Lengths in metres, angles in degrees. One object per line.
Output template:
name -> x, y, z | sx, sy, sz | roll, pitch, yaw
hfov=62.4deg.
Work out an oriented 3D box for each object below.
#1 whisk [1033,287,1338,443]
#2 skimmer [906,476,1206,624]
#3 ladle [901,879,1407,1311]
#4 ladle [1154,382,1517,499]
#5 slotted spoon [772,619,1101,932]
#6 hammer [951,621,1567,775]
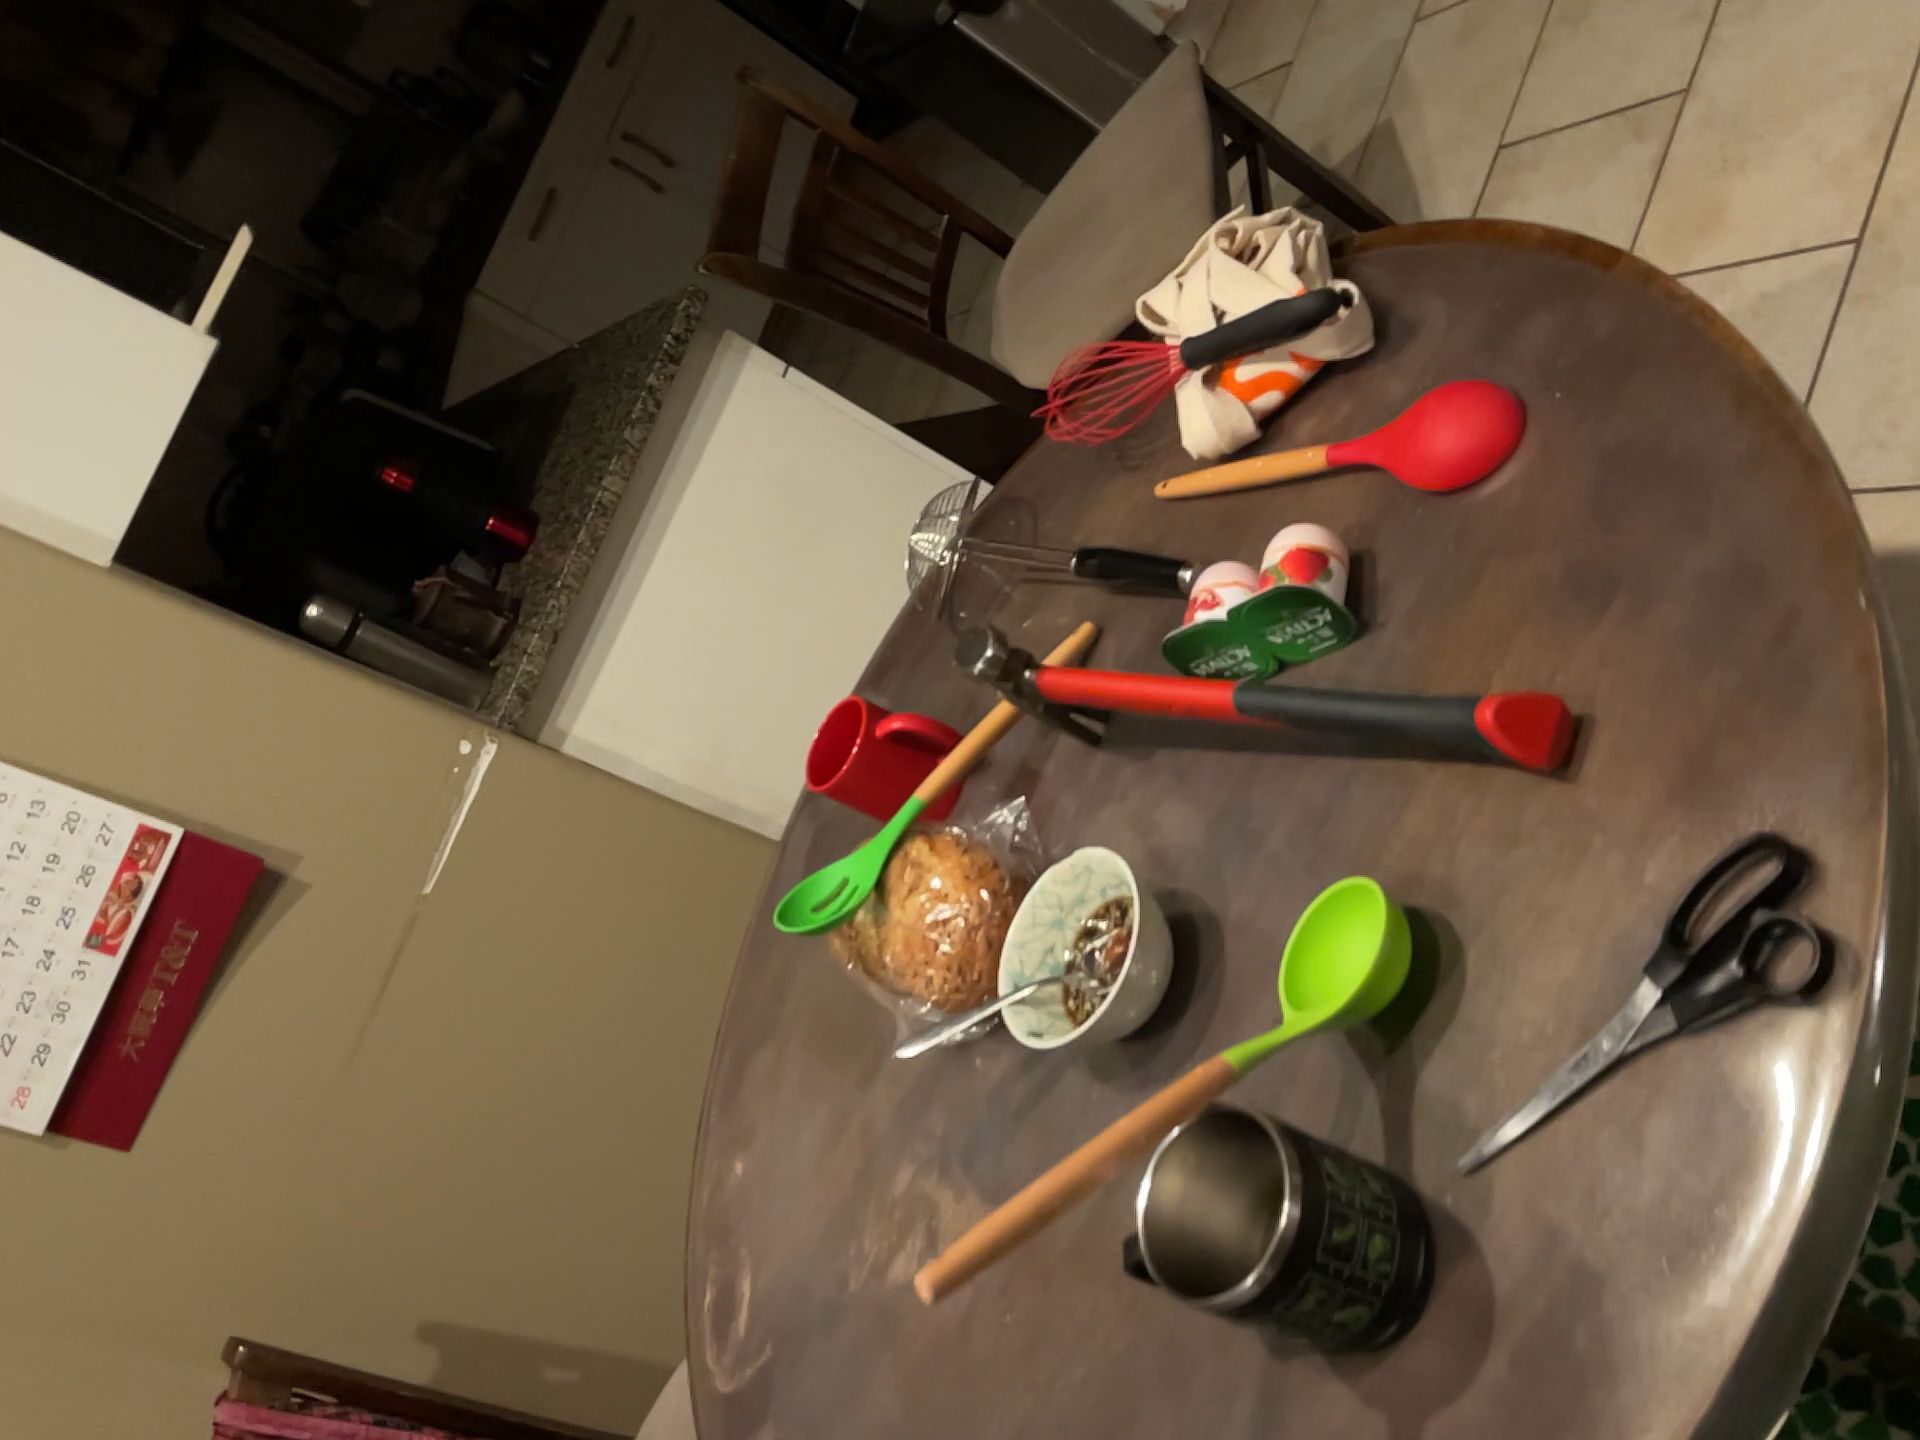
whisk -> 0.148, -0.249, 1.100 | 0.296, 0.073, 0.073 | -8, 59, 56
skimmer -> 0.073, -0.118, 1.214 | 0.364, 0.090, 0.127 | 17, 89, 51
ladle -> 0.094, 0.163, 0.718 | 0.062, 0.320, 0.078 | 60, 146, 7
ladle -> 0.221, -0.166, 1.014 | 0.316, 0.031, 0.069 | 0, 66, 61
slotted spoon -> -0.009, 0.039, 1.113 | 0.314, 0.031, 0.070 | -45, 30, -13
hammer -> 0.169, -0.003, 0.914 | 0.387, 0.143, 0.038 | 9, 75, 48
